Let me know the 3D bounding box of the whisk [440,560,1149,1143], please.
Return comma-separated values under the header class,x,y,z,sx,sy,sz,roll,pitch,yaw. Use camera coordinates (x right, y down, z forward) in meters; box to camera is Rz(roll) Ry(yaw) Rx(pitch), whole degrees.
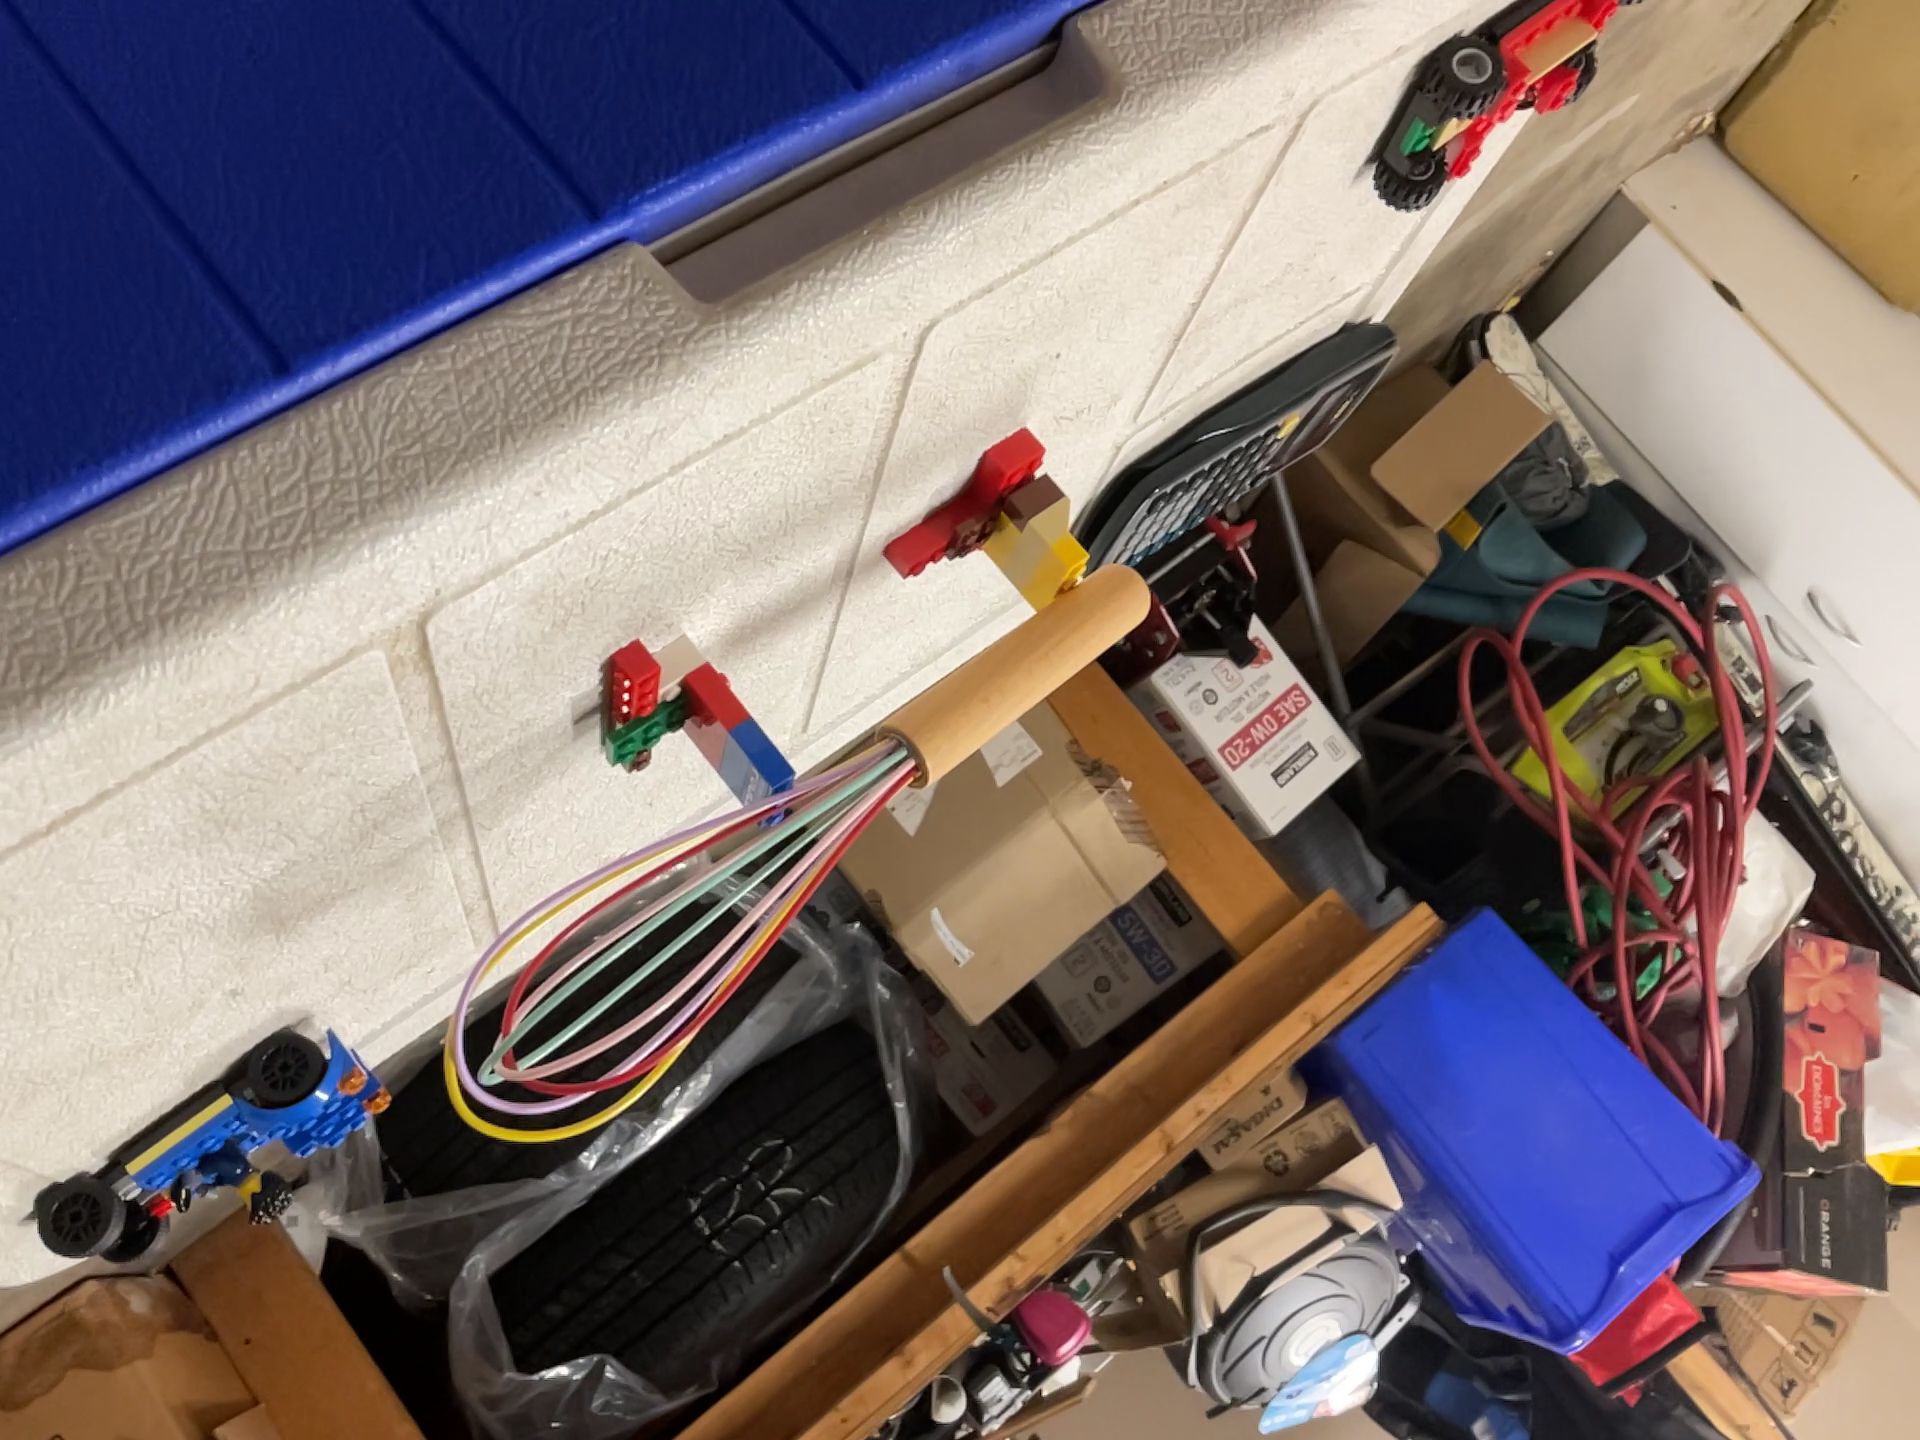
class,x,y,z,sx,sy,sz,roll,pitch,yaw
whisk,-0.030,0.025,0.425,0.245,0.047,0.051,-37,157,-31
